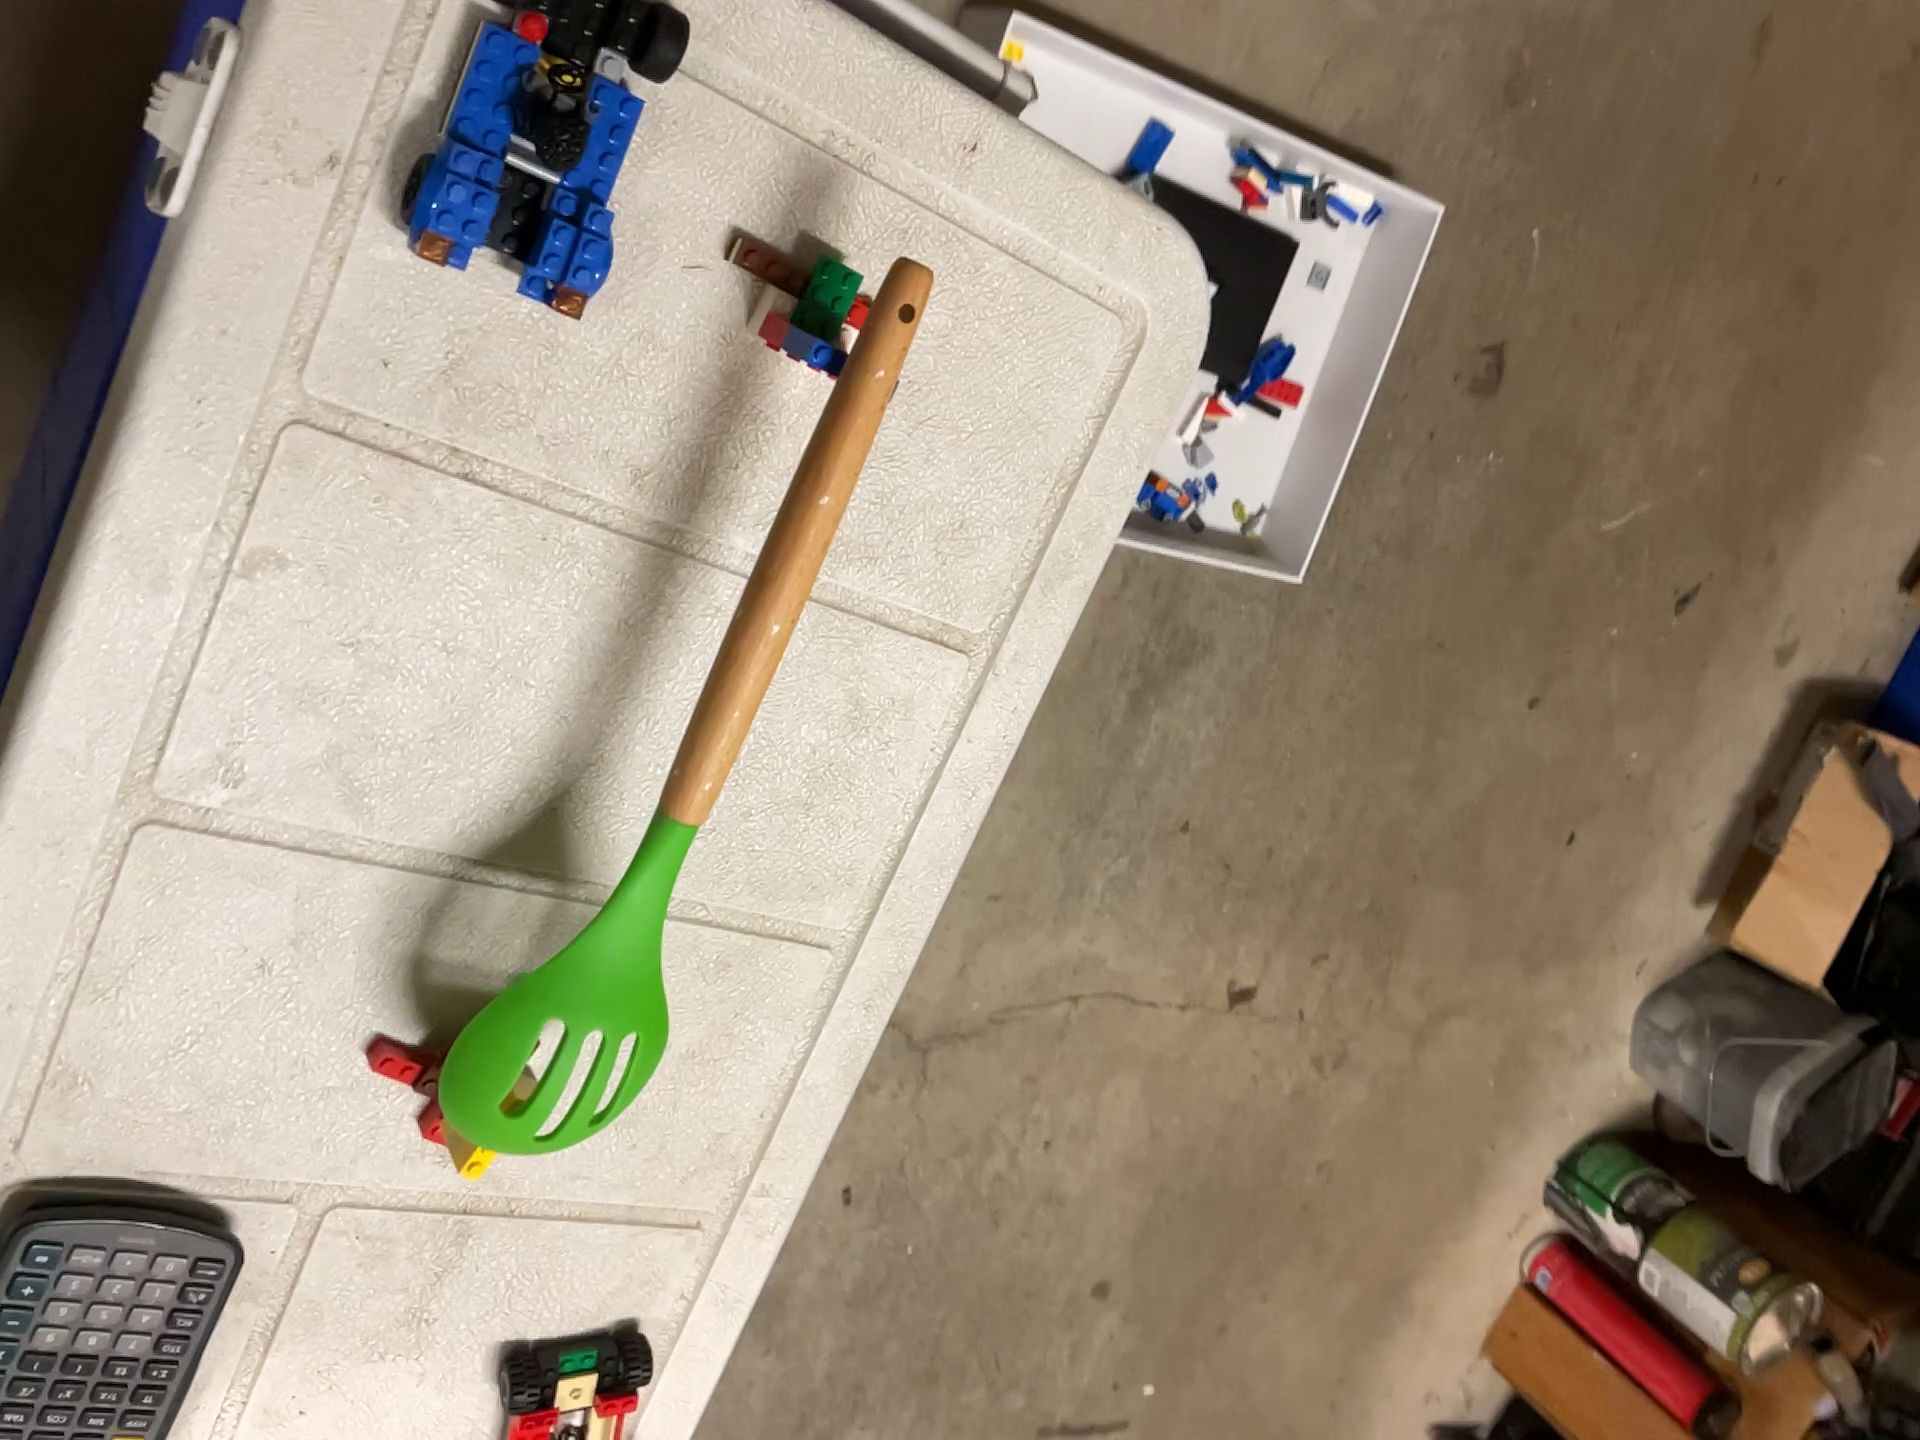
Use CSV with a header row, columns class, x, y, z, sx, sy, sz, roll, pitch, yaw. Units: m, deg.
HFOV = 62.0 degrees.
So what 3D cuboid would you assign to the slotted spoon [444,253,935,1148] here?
class,x,y,z,sx,sy,sz,roll,pitch,yaw
slotted spoon,-0.079,0.005,0.493,0.070,0.031,0.314,18,103,-35
